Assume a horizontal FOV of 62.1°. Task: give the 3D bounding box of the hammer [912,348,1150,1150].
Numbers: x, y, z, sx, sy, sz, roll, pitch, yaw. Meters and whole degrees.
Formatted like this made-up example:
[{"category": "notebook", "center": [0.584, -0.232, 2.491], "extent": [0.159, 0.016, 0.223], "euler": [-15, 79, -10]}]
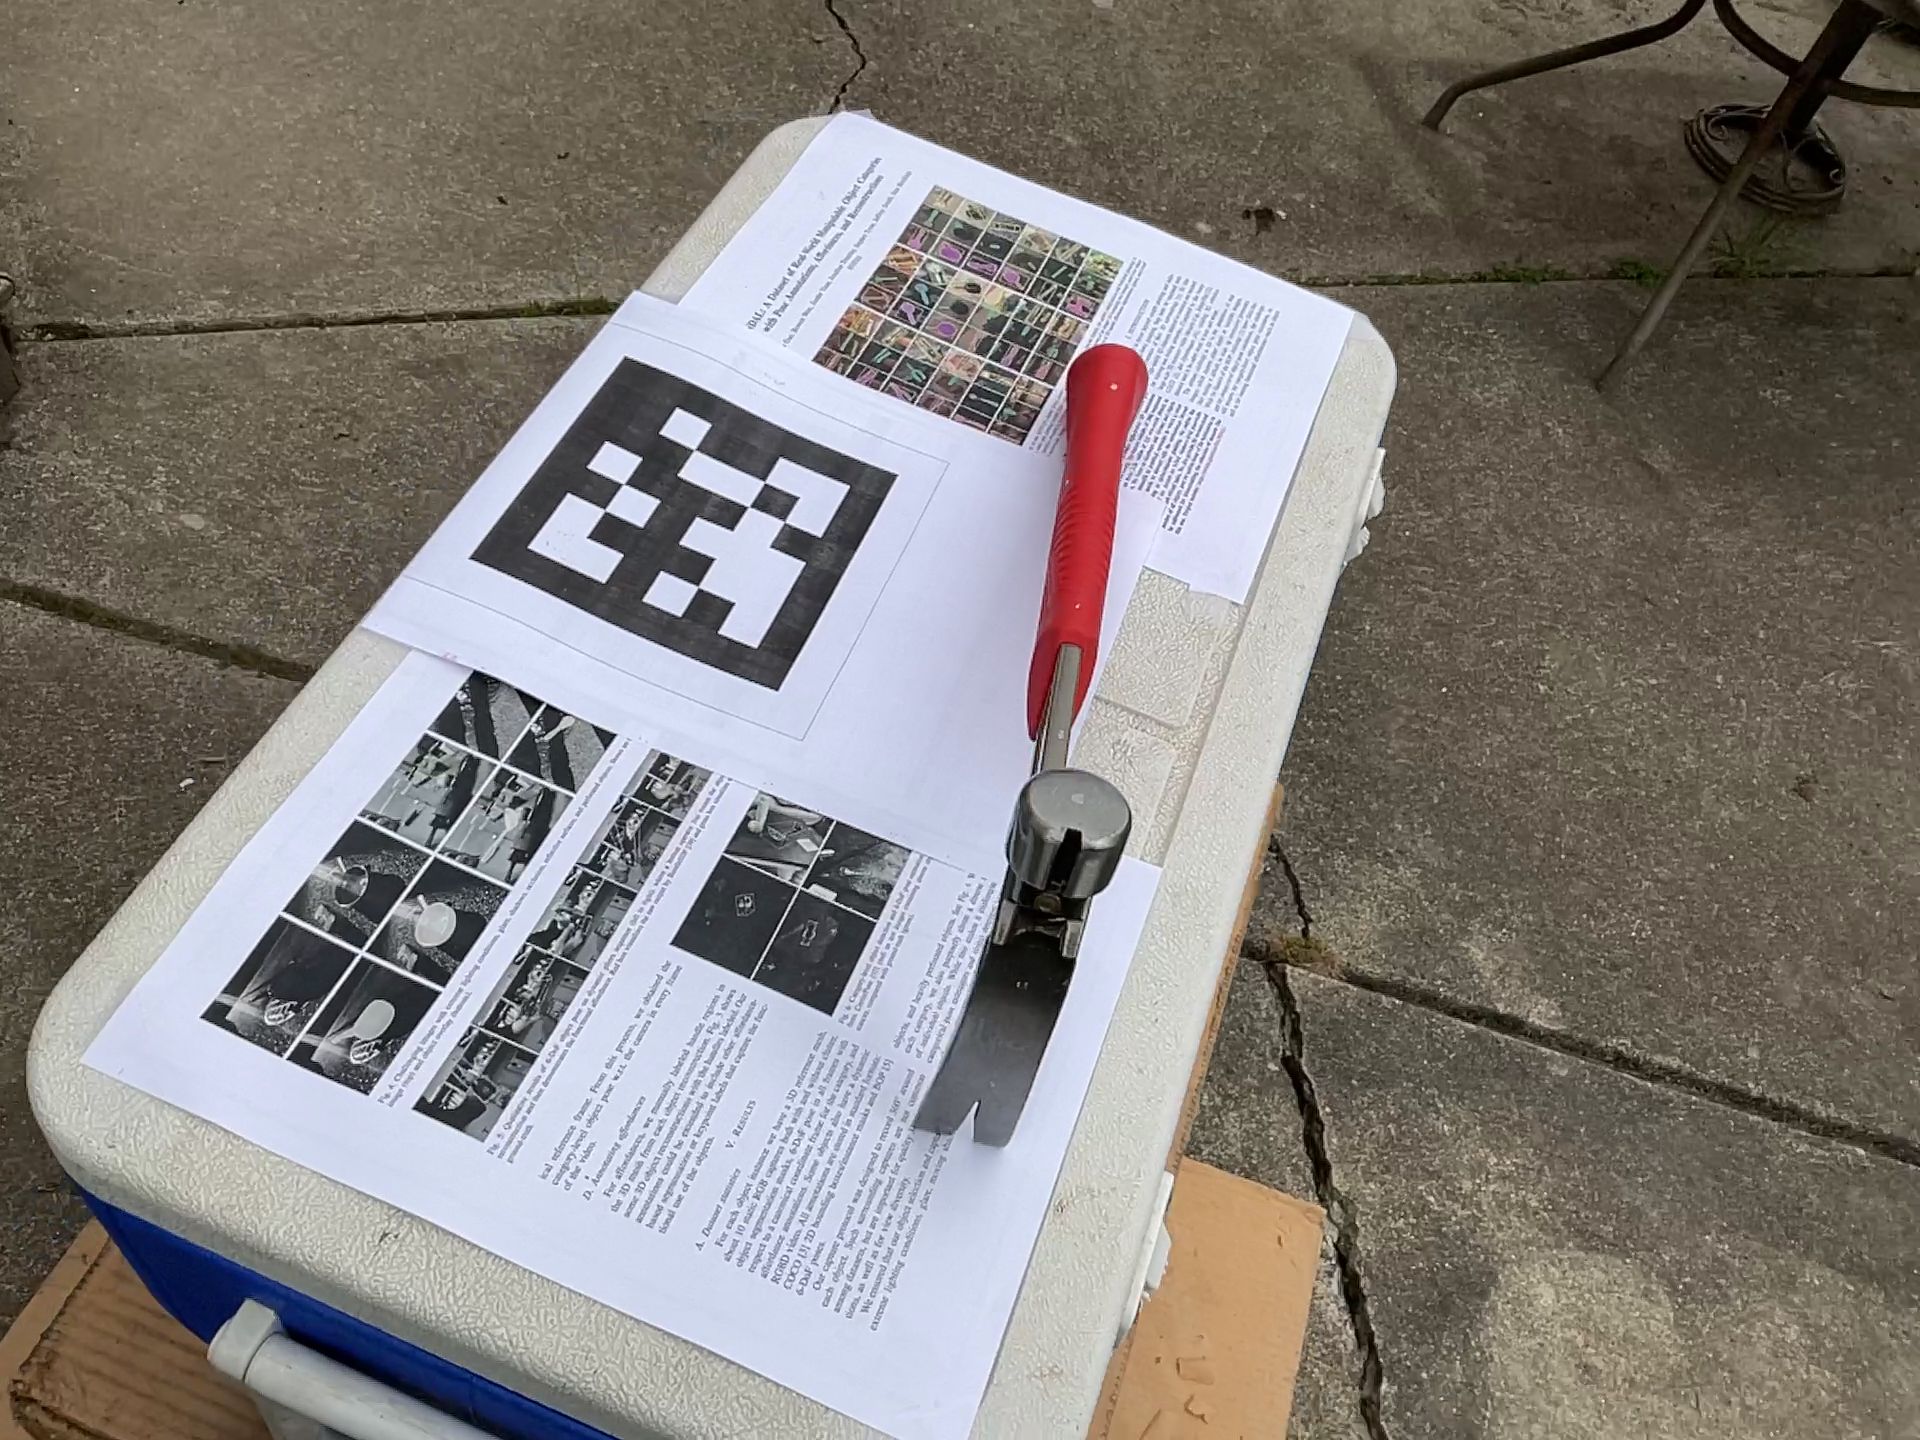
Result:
[{"category": "hammer", "center": [0.038, -0.027, 0.589], "extent": [0.036, 0.149, 0.359], "euler": [14, 41, -2]}]
